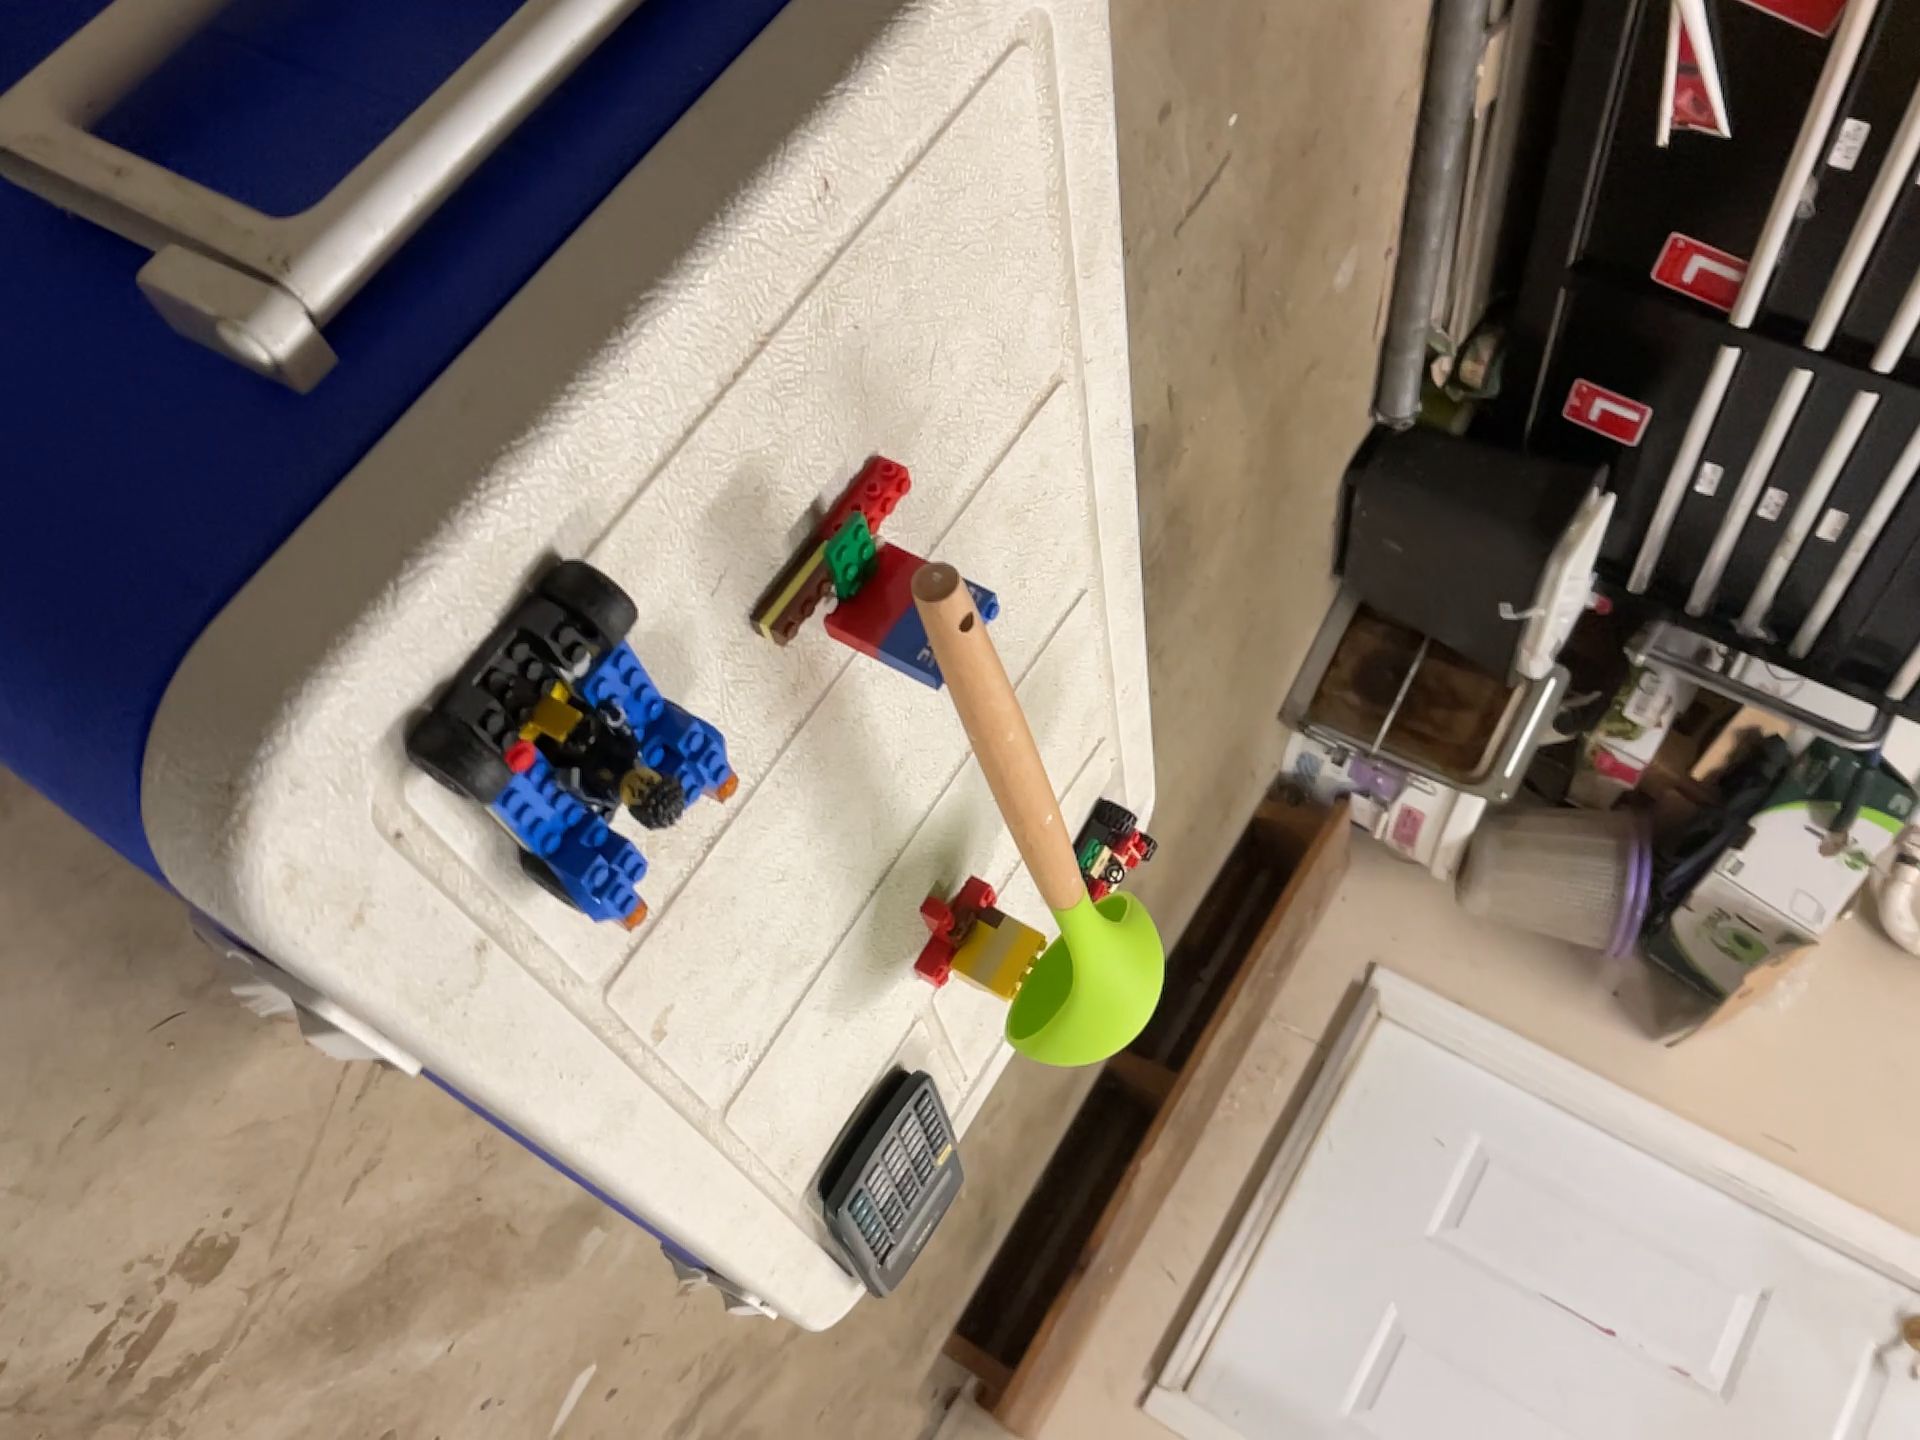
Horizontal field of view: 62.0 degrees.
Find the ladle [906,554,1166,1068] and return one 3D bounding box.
[{"bbox_3d":[0.020,0.040,0.535,0.078,0.062,0.320,-50,149,-16],"label":"ladle"}]
